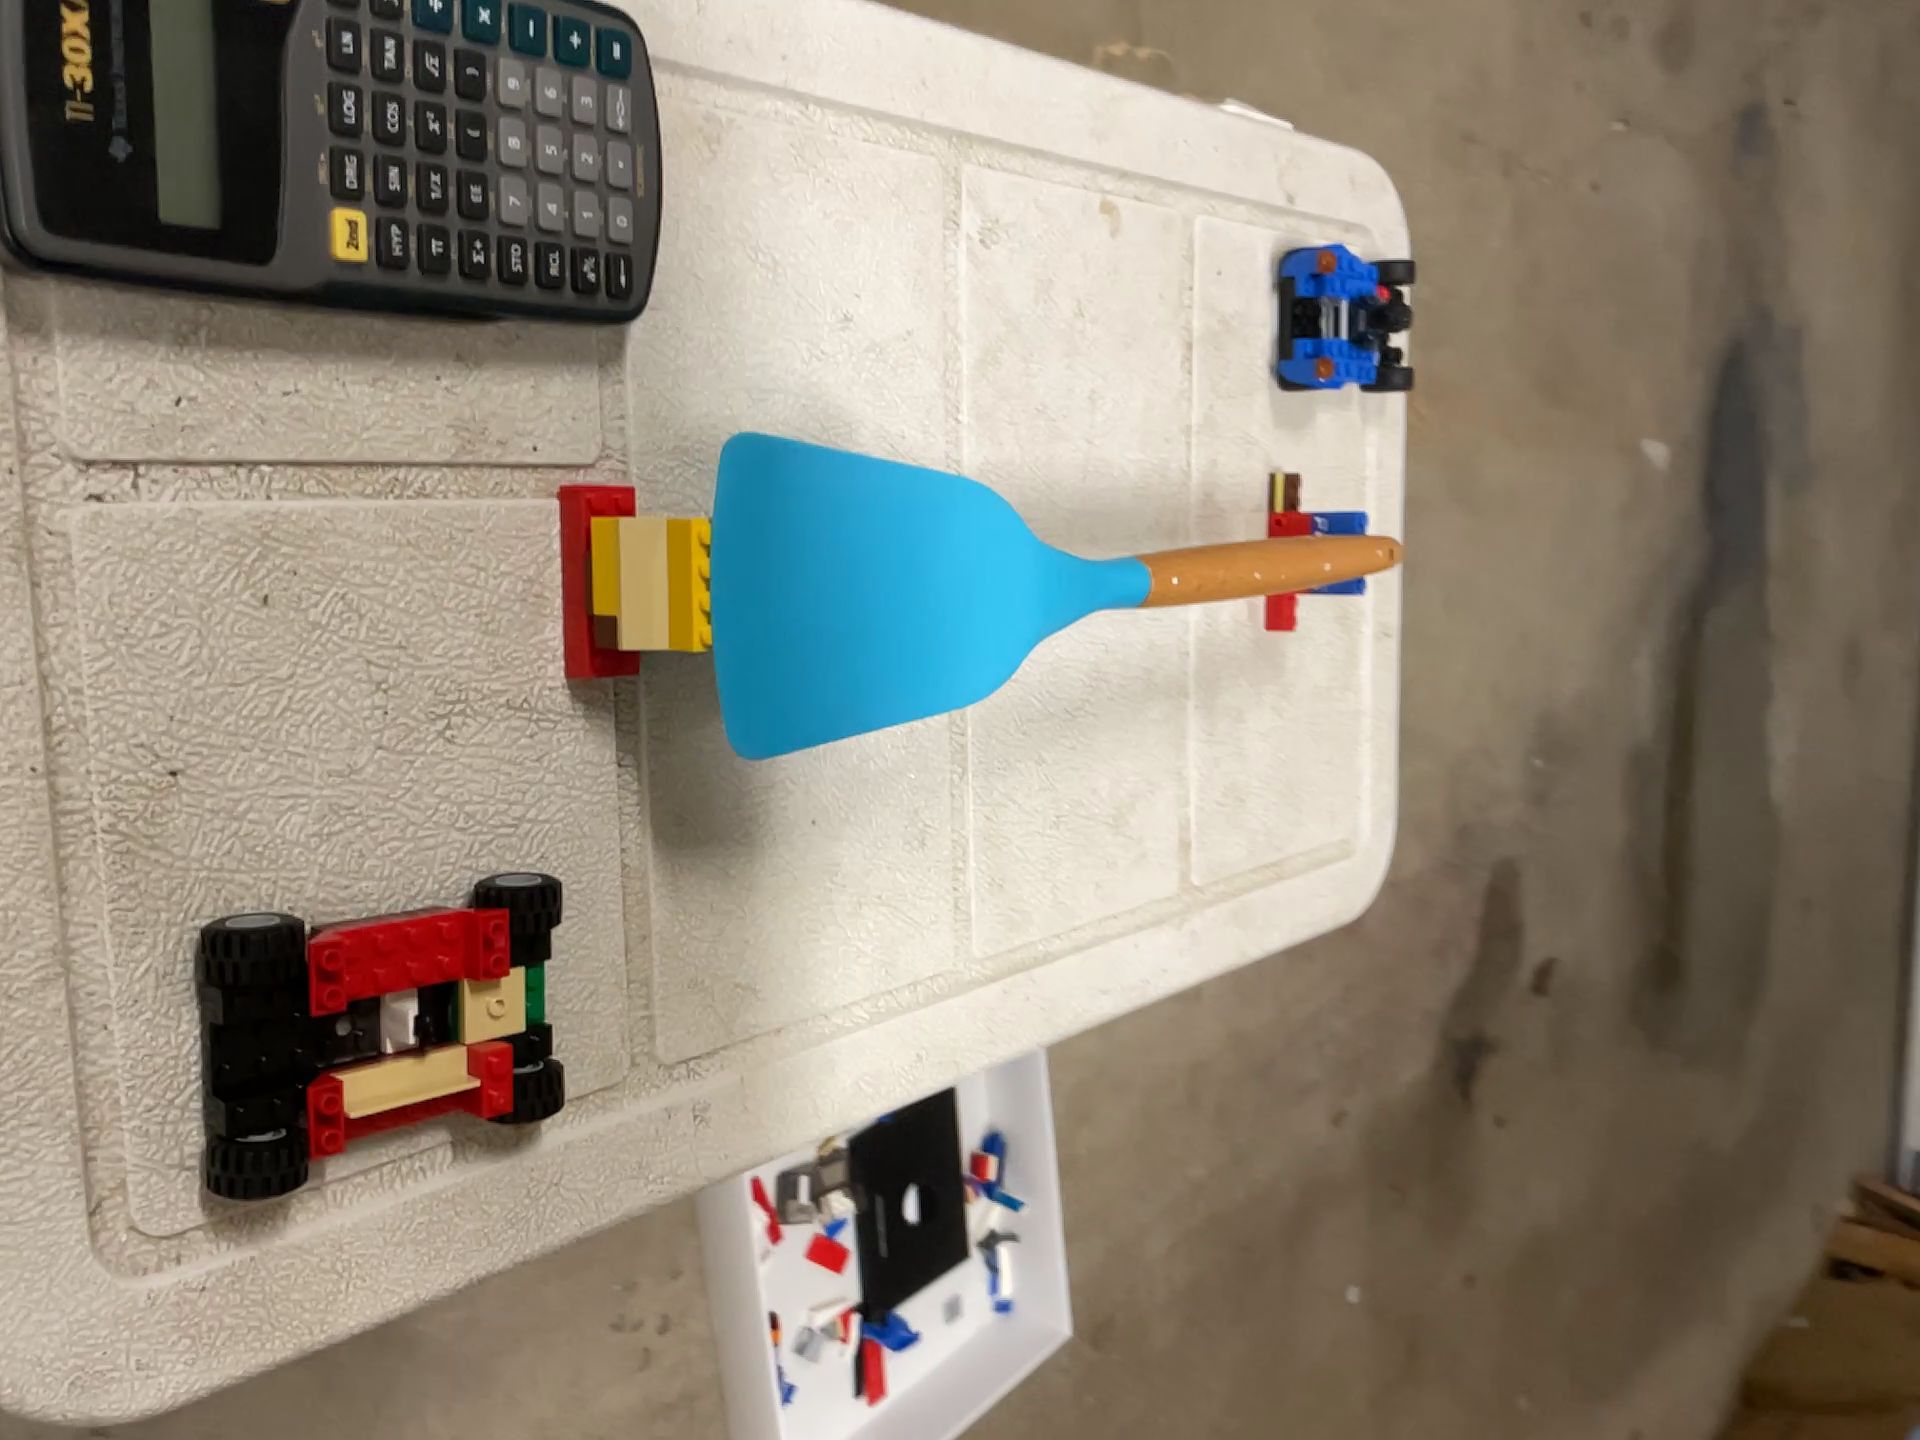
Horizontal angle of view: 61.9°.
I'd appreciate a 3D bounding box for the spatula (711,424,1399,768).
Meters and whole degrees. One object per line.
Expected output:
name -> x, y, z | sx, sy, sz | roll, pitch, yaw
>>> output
spatula -> 0.056, -0.045, 0.491 | 0.318, 0.044, 0.082 | -10, 101, -51
